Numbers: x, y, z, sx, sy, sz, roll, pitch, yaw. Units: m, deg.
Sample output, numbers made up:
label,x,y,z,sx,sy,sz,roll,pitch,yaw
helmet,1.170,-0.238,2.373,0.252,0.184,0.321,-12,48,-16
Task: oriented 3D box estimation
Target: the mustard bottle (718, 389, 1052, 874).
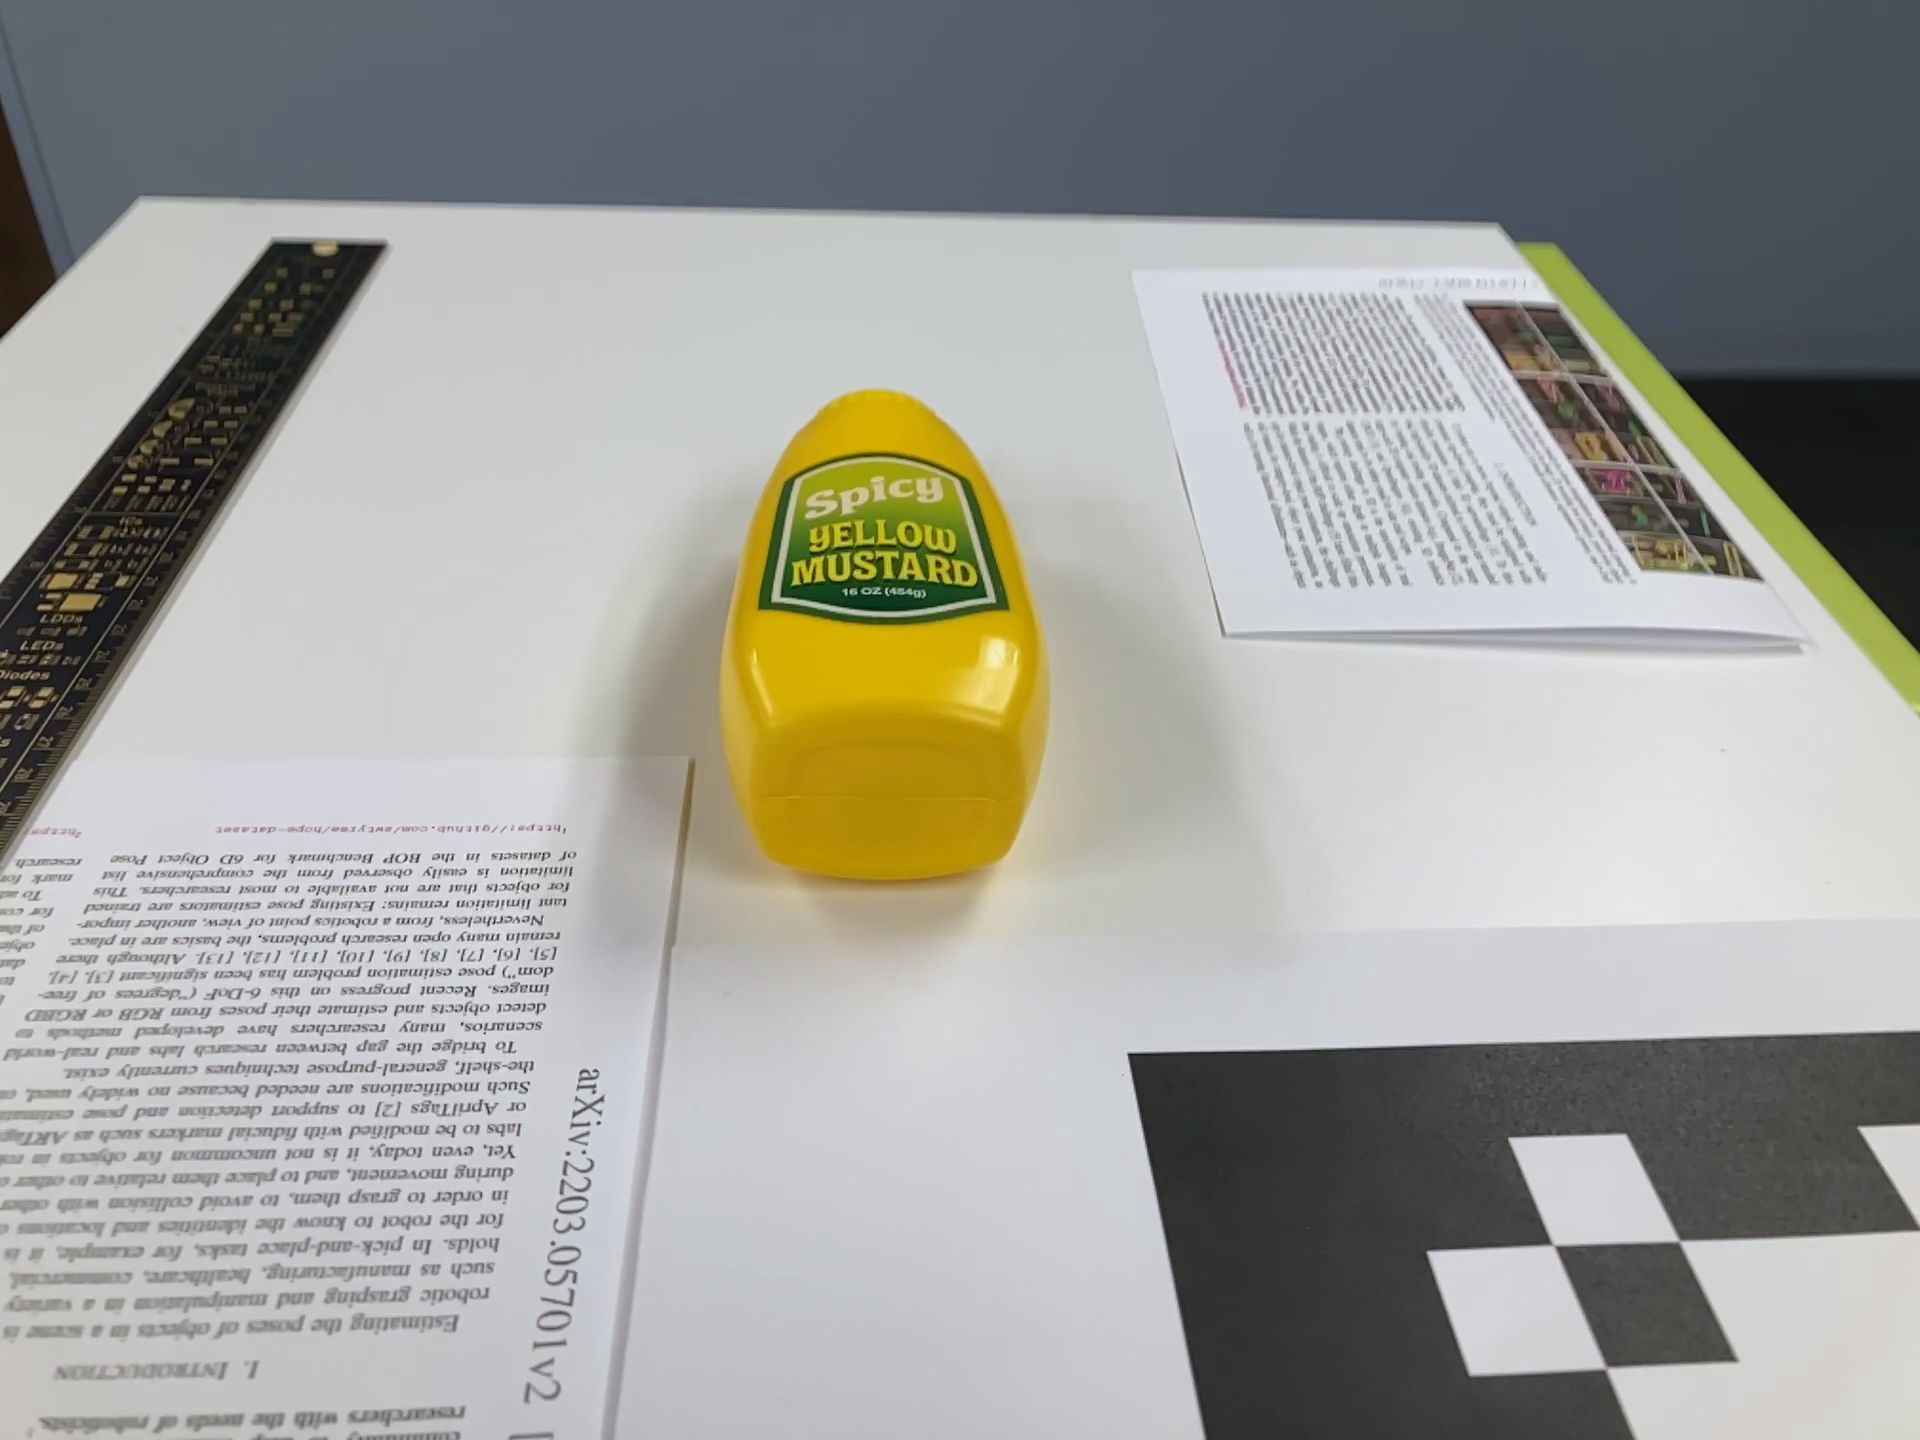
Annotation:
label,x,y,z,sx,sy,sz,roll,pitch,yaw
mustard bottle,-0.018,-0.034,0.349,0.065,0.049,0.160,0,37,-5
